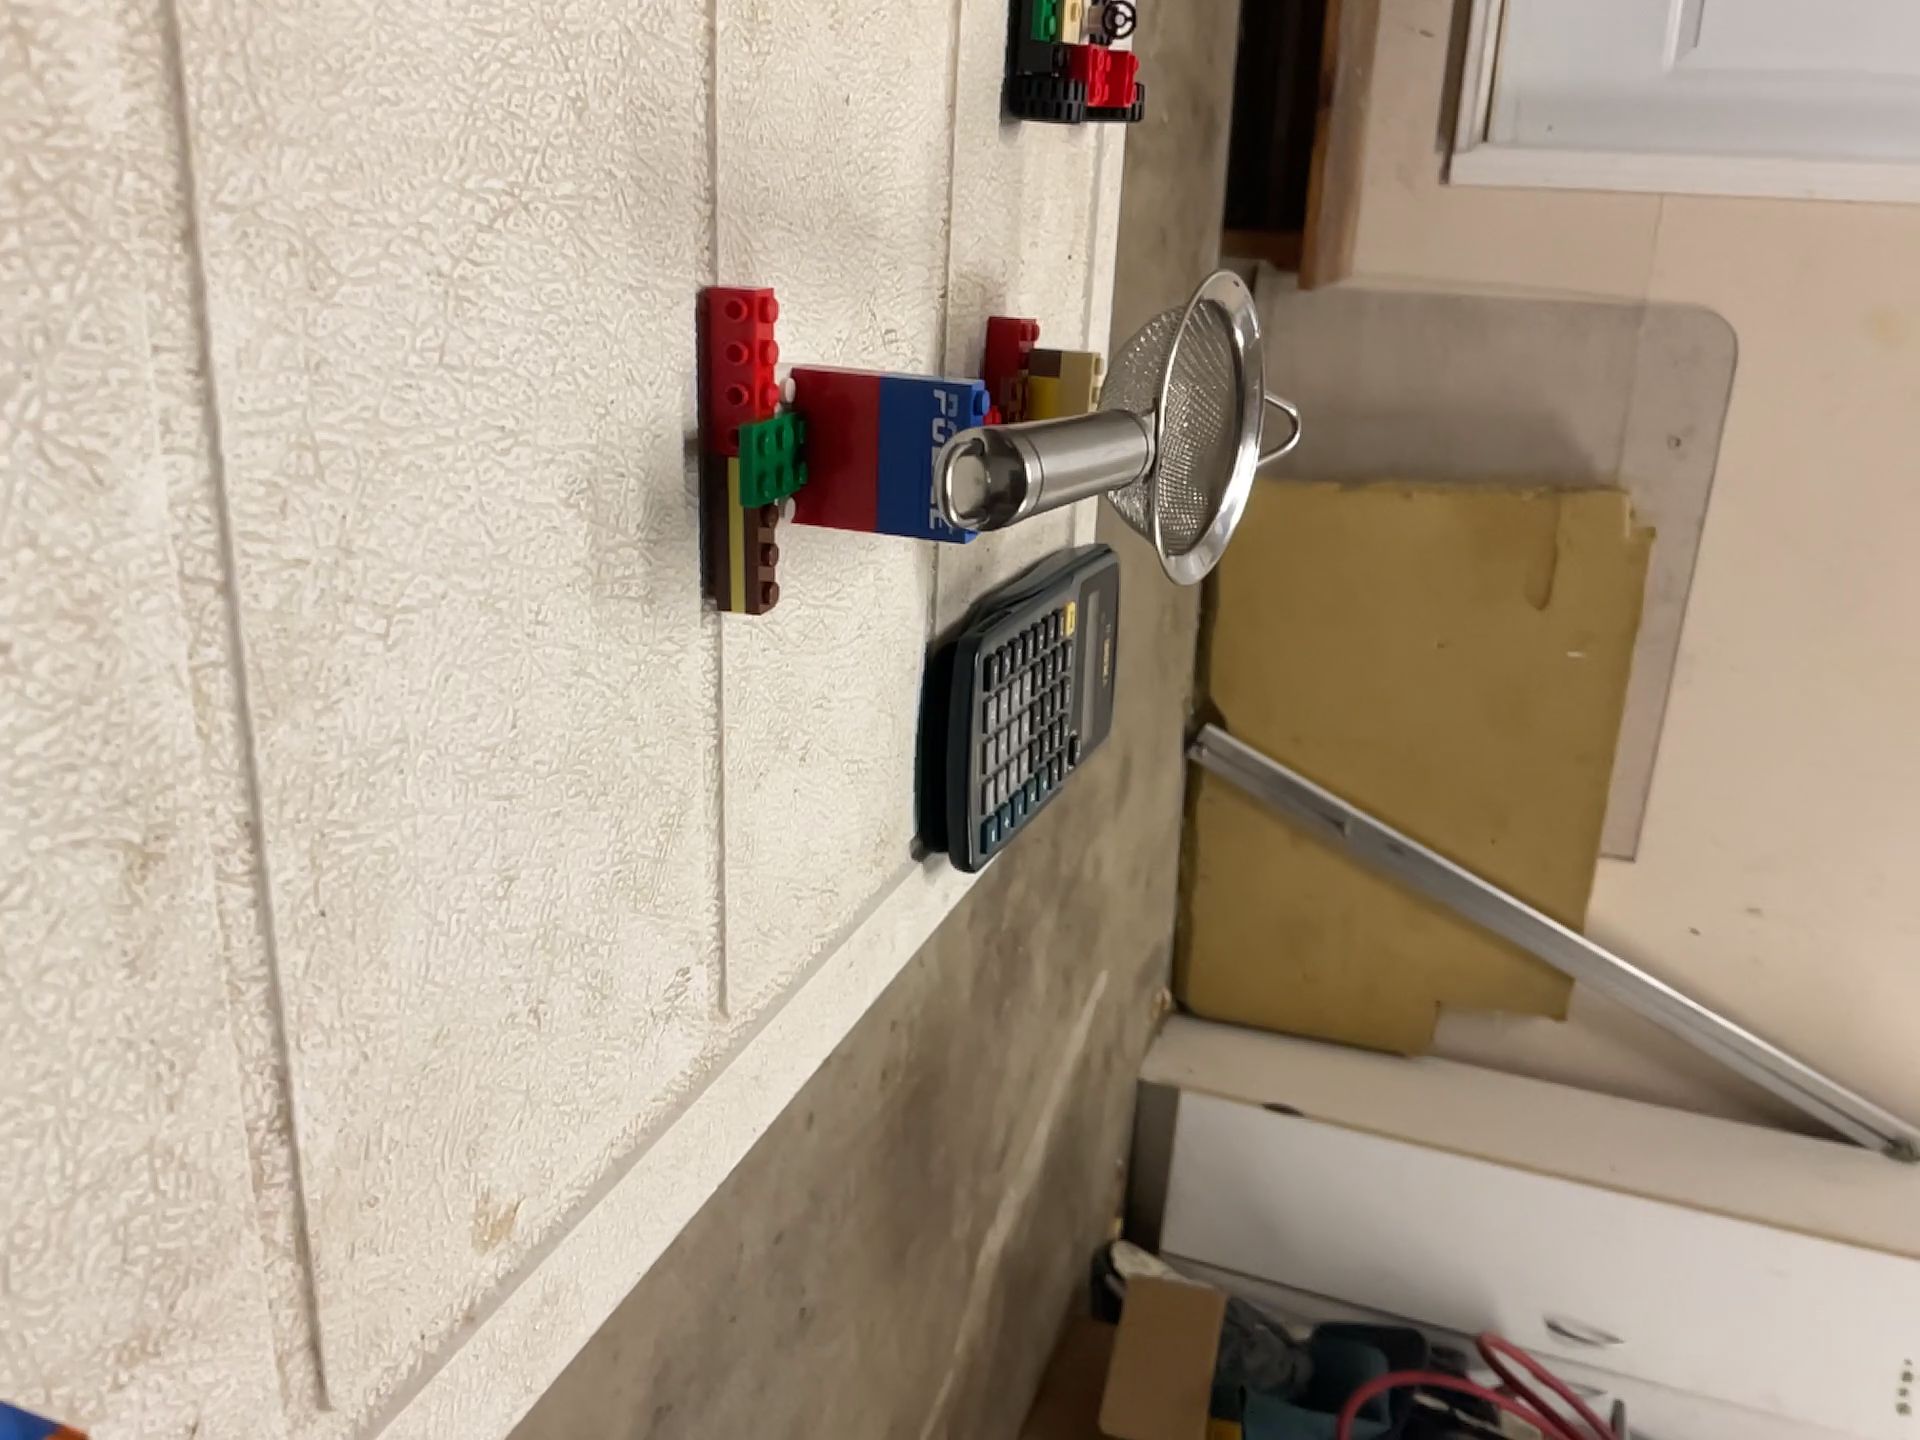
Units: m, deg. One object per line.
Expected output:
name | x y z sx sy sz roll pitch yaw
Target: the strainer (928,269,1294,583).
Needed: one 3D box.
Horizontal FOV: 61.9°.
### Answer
strainer | 0.038 -0.069 0.392 0.259 0.050 0.086 -33 128 -66
